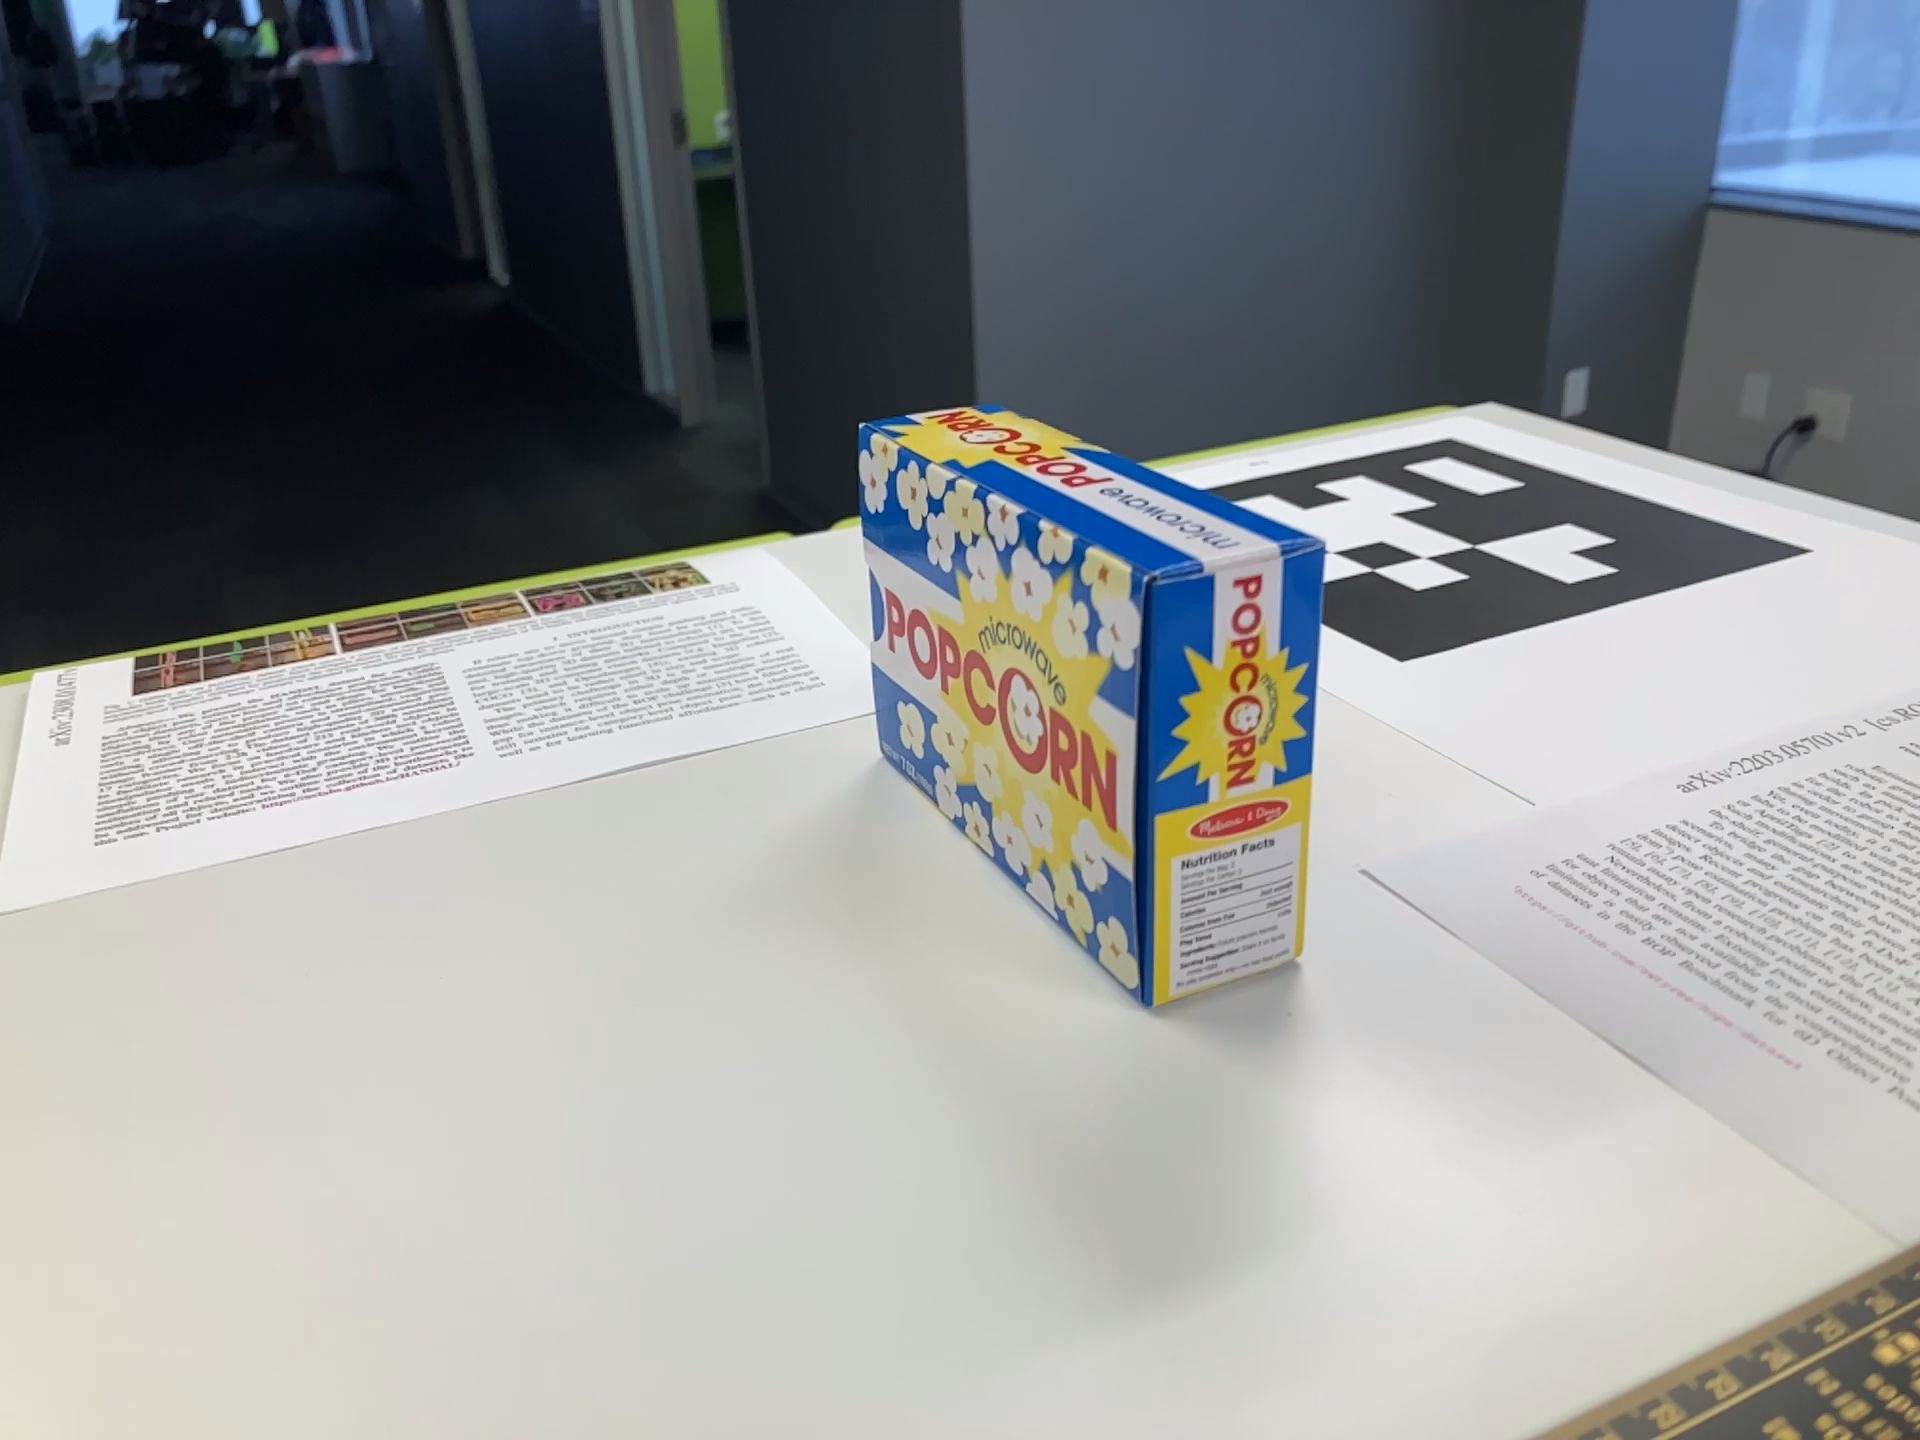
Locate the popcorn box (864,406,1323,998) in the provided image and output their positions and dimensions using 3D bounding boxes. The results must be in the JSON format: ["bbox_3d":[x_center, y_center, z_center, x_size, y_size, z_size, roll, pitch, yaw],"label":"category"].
[{"bbox_3d":[0.022,-0.011,0.334,0.038,0.085,0.126,-14,26,-22],"label":"popcorn box"}]
